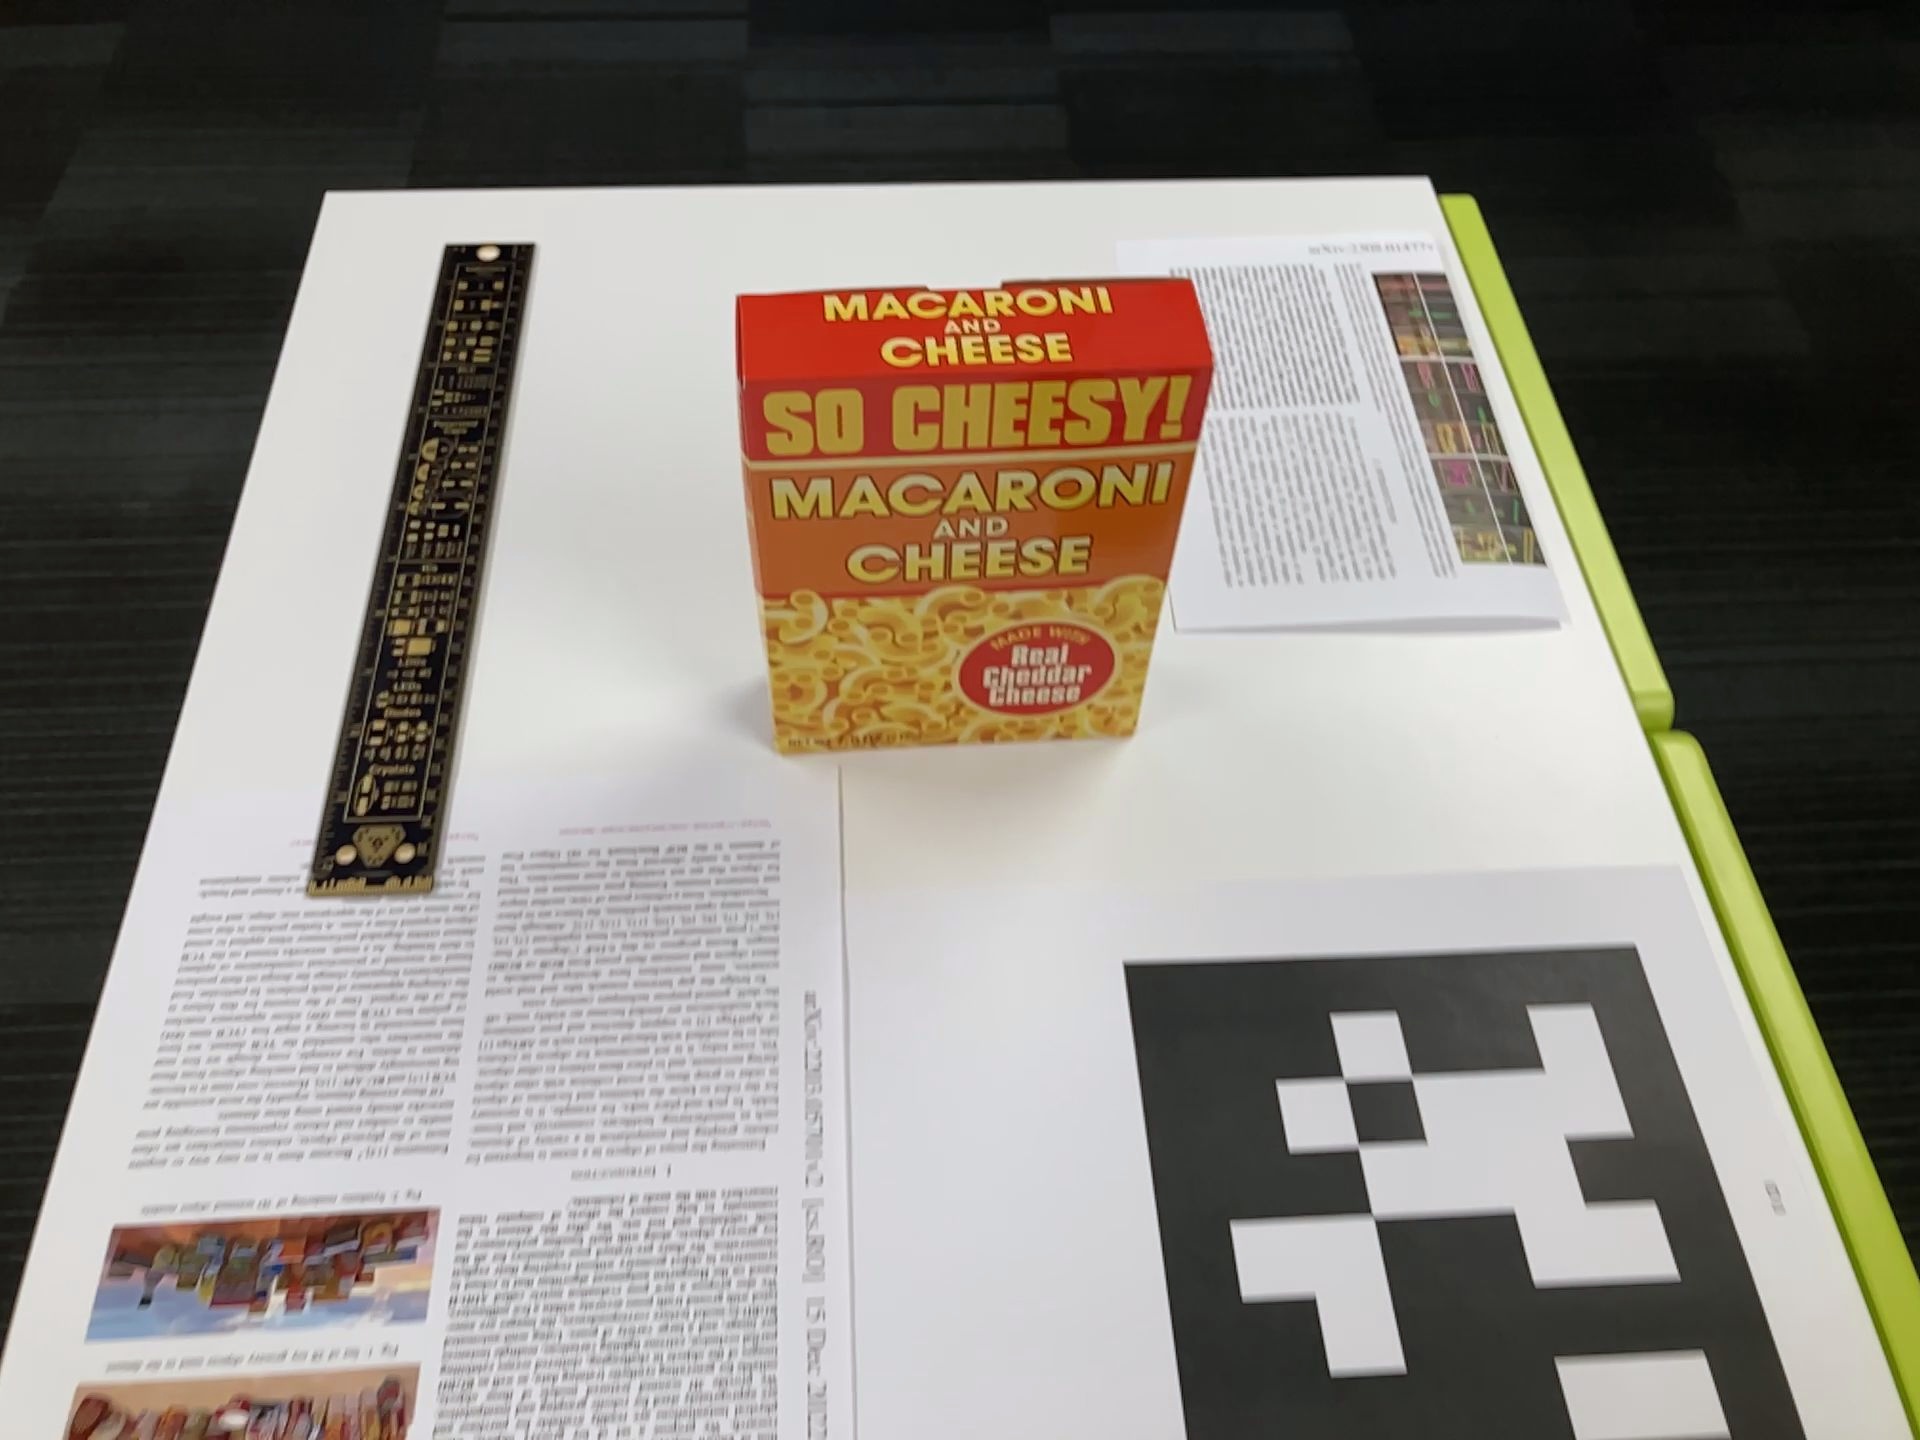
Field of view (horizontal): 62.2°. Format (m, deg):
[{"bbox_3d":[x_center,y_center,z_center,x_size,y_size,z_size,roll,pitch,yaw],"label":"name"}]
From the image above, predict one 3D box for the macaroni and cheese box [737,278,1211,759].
[{"bbox_3d":[0.000,-0.054,0.481,0.124,0.166,0.040,-4,54,-5],"label":"macaroni and cheese box"}]
